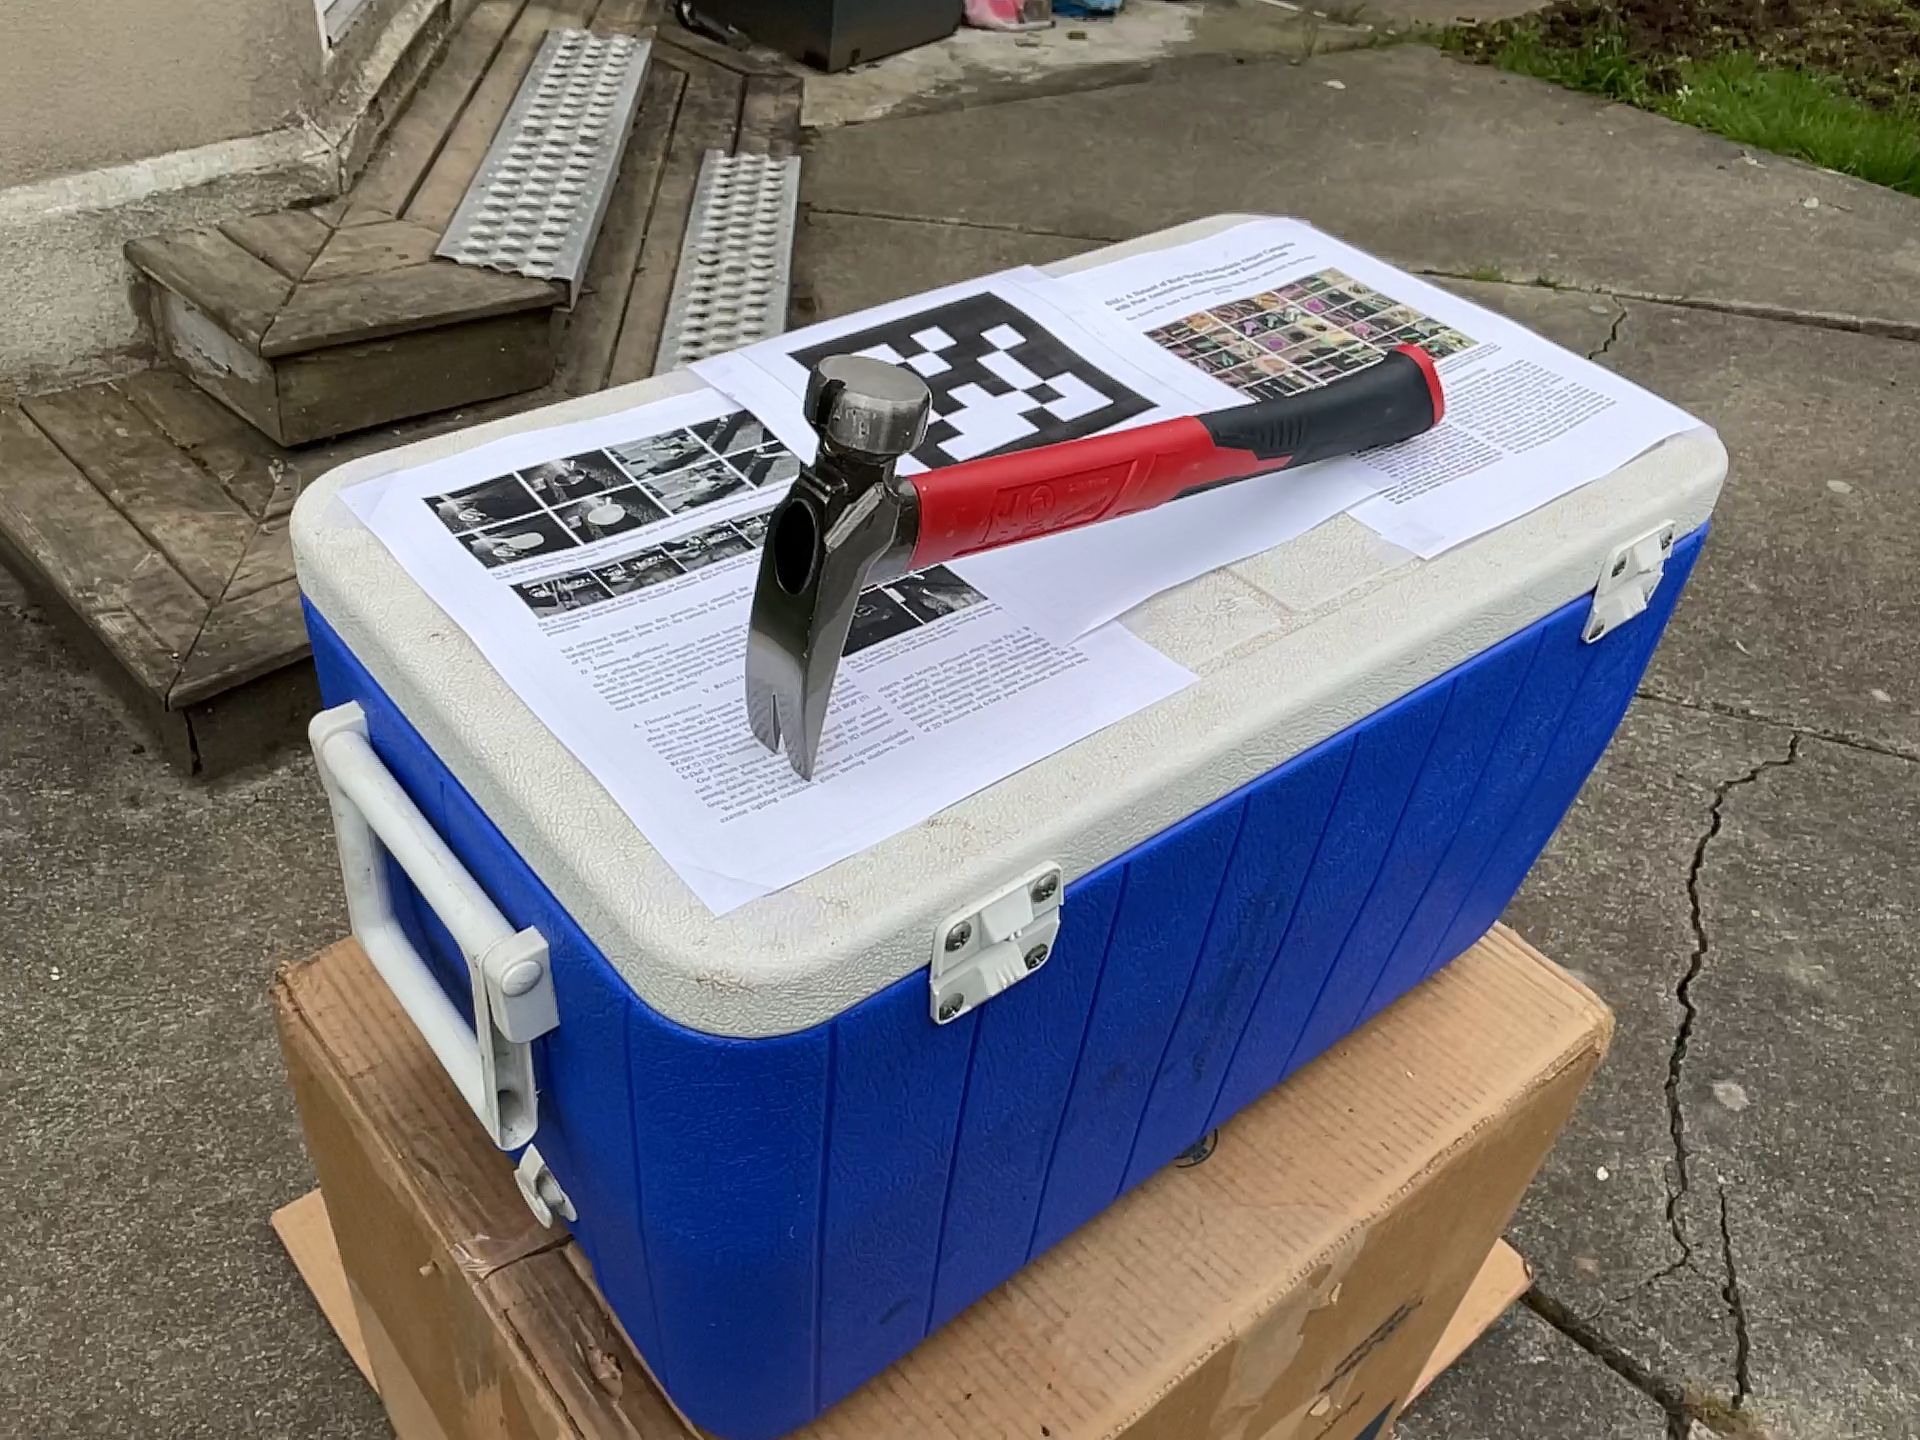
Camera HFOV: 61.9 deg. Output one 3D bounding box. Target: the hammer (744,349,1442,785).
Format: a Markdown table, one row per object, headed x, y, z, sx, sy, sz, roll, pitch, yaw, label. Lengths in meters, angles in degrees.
| x | y | z | sx | sy | sz | roll | pitch | yaw | label |
| --- | --- | --- | --- | --- | --- | --- | --- | --- | --- |
| 0.077 | -0.087 | 0.633 | 0.038 | 0.143 | 0.386 | 37 | 38 | 30 | hammer |
